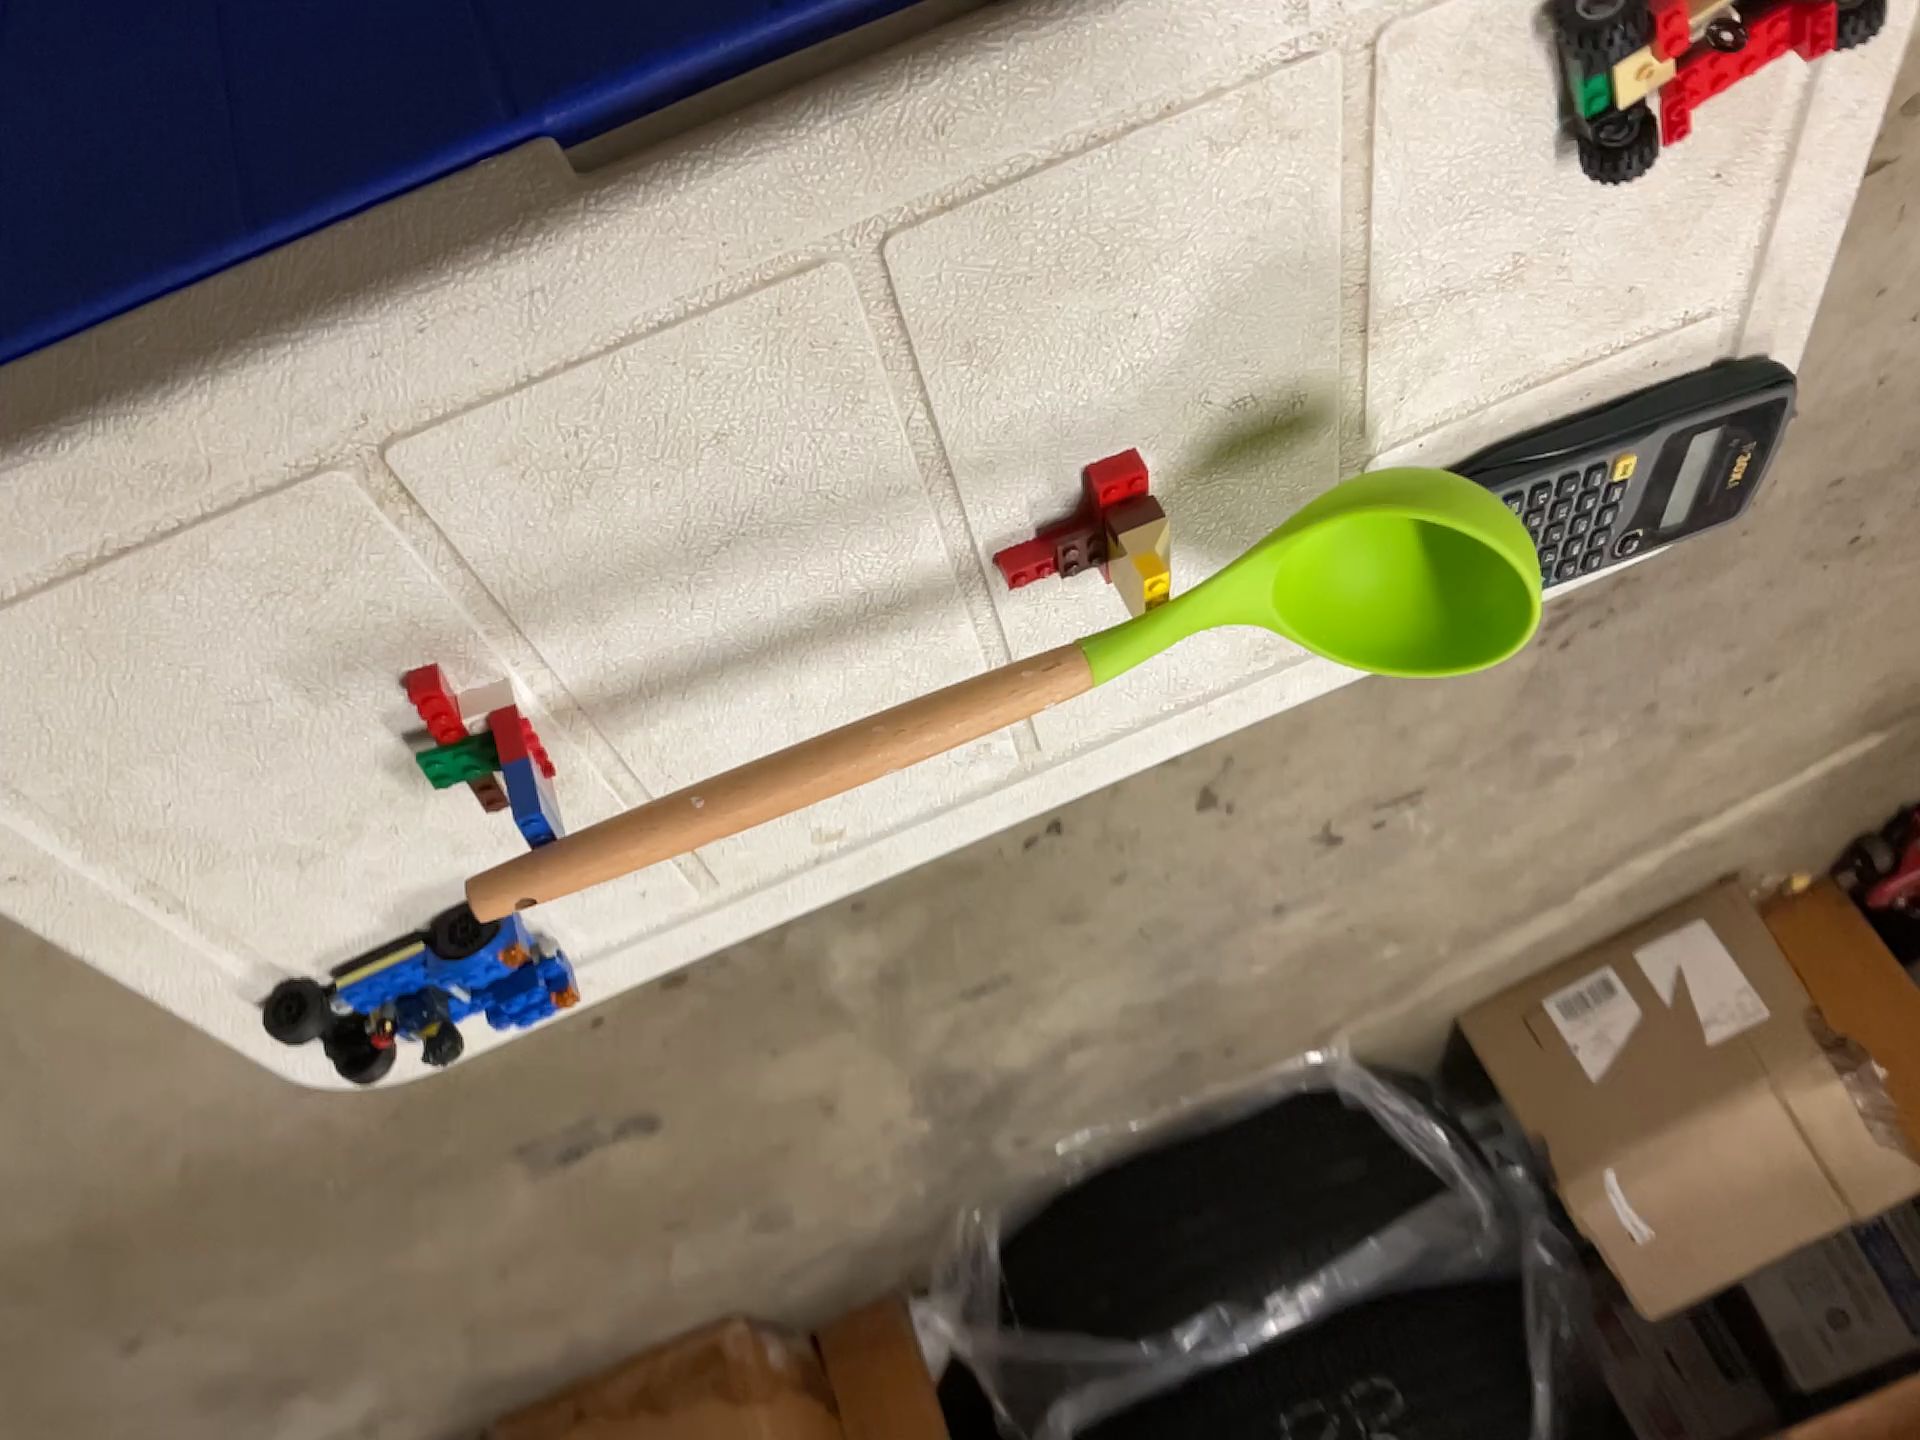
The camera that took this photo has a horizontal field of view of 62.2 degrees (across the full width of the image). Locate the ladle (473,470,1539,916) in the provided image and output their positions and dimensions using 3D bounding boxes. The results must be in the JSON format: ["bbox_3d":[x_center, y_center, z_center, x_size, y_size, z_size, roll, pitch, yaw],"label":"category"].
[{"bbox_3d":[0.018,0.002,0.462,0.320,0.062,0.078,-21,148,-8],"label":"ladle"}]
